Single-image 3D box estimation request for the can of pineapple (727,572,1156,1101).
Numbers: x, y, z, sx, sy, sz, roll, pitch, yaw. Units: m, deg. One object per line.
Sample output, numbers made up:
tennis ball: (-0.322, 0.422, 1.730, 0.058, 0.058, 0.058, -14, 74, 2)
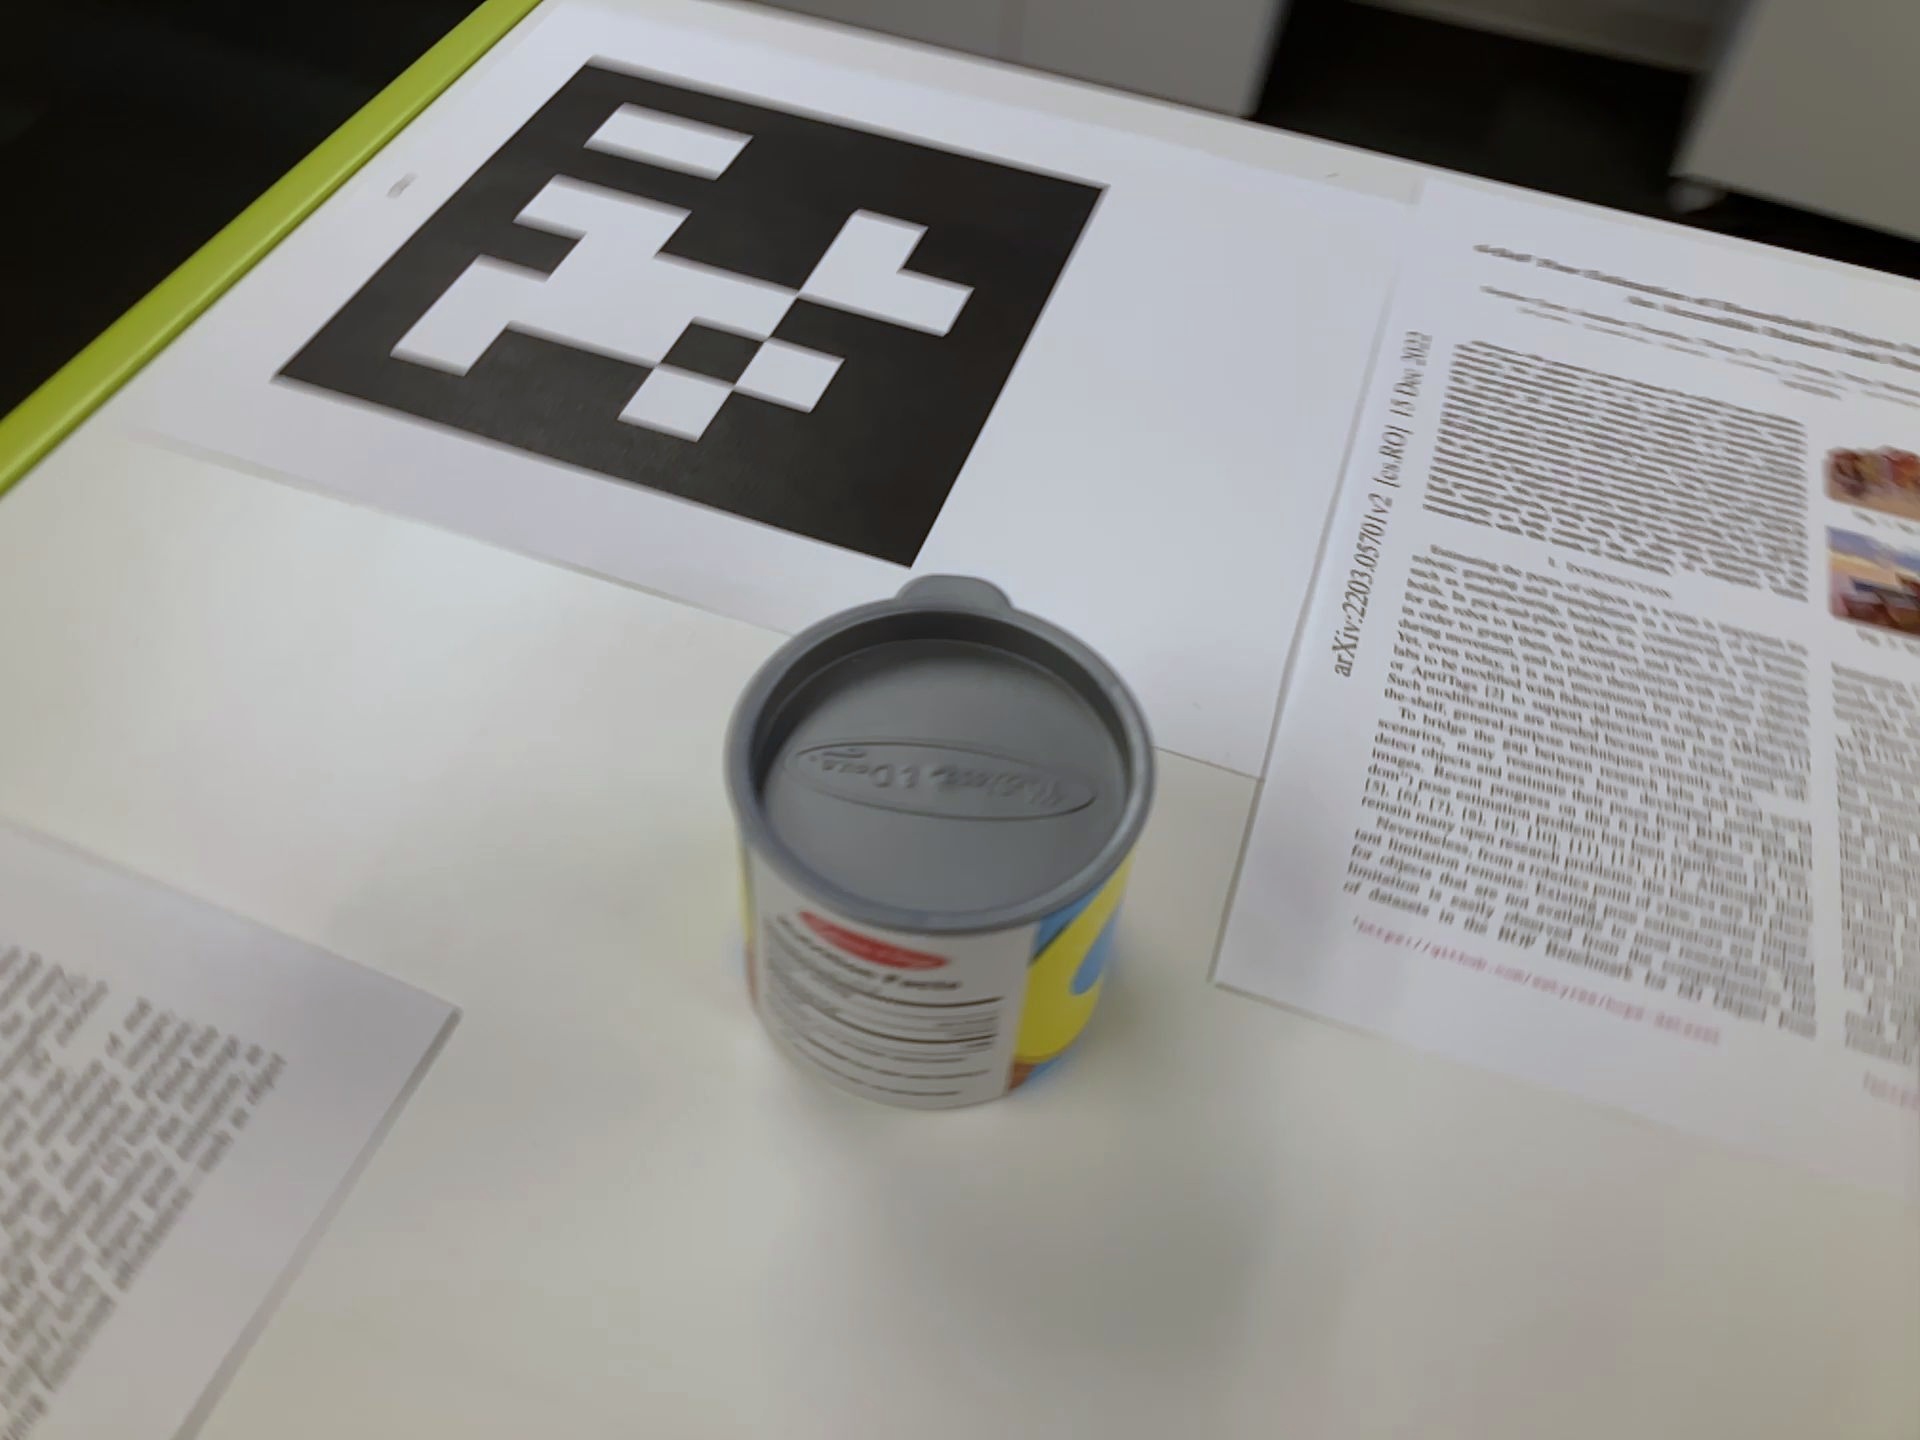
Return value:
can of pineapple: (-0.004, 0.020, 0.267, 0.071, 0.058, 0.071, 3, 51, -3)
